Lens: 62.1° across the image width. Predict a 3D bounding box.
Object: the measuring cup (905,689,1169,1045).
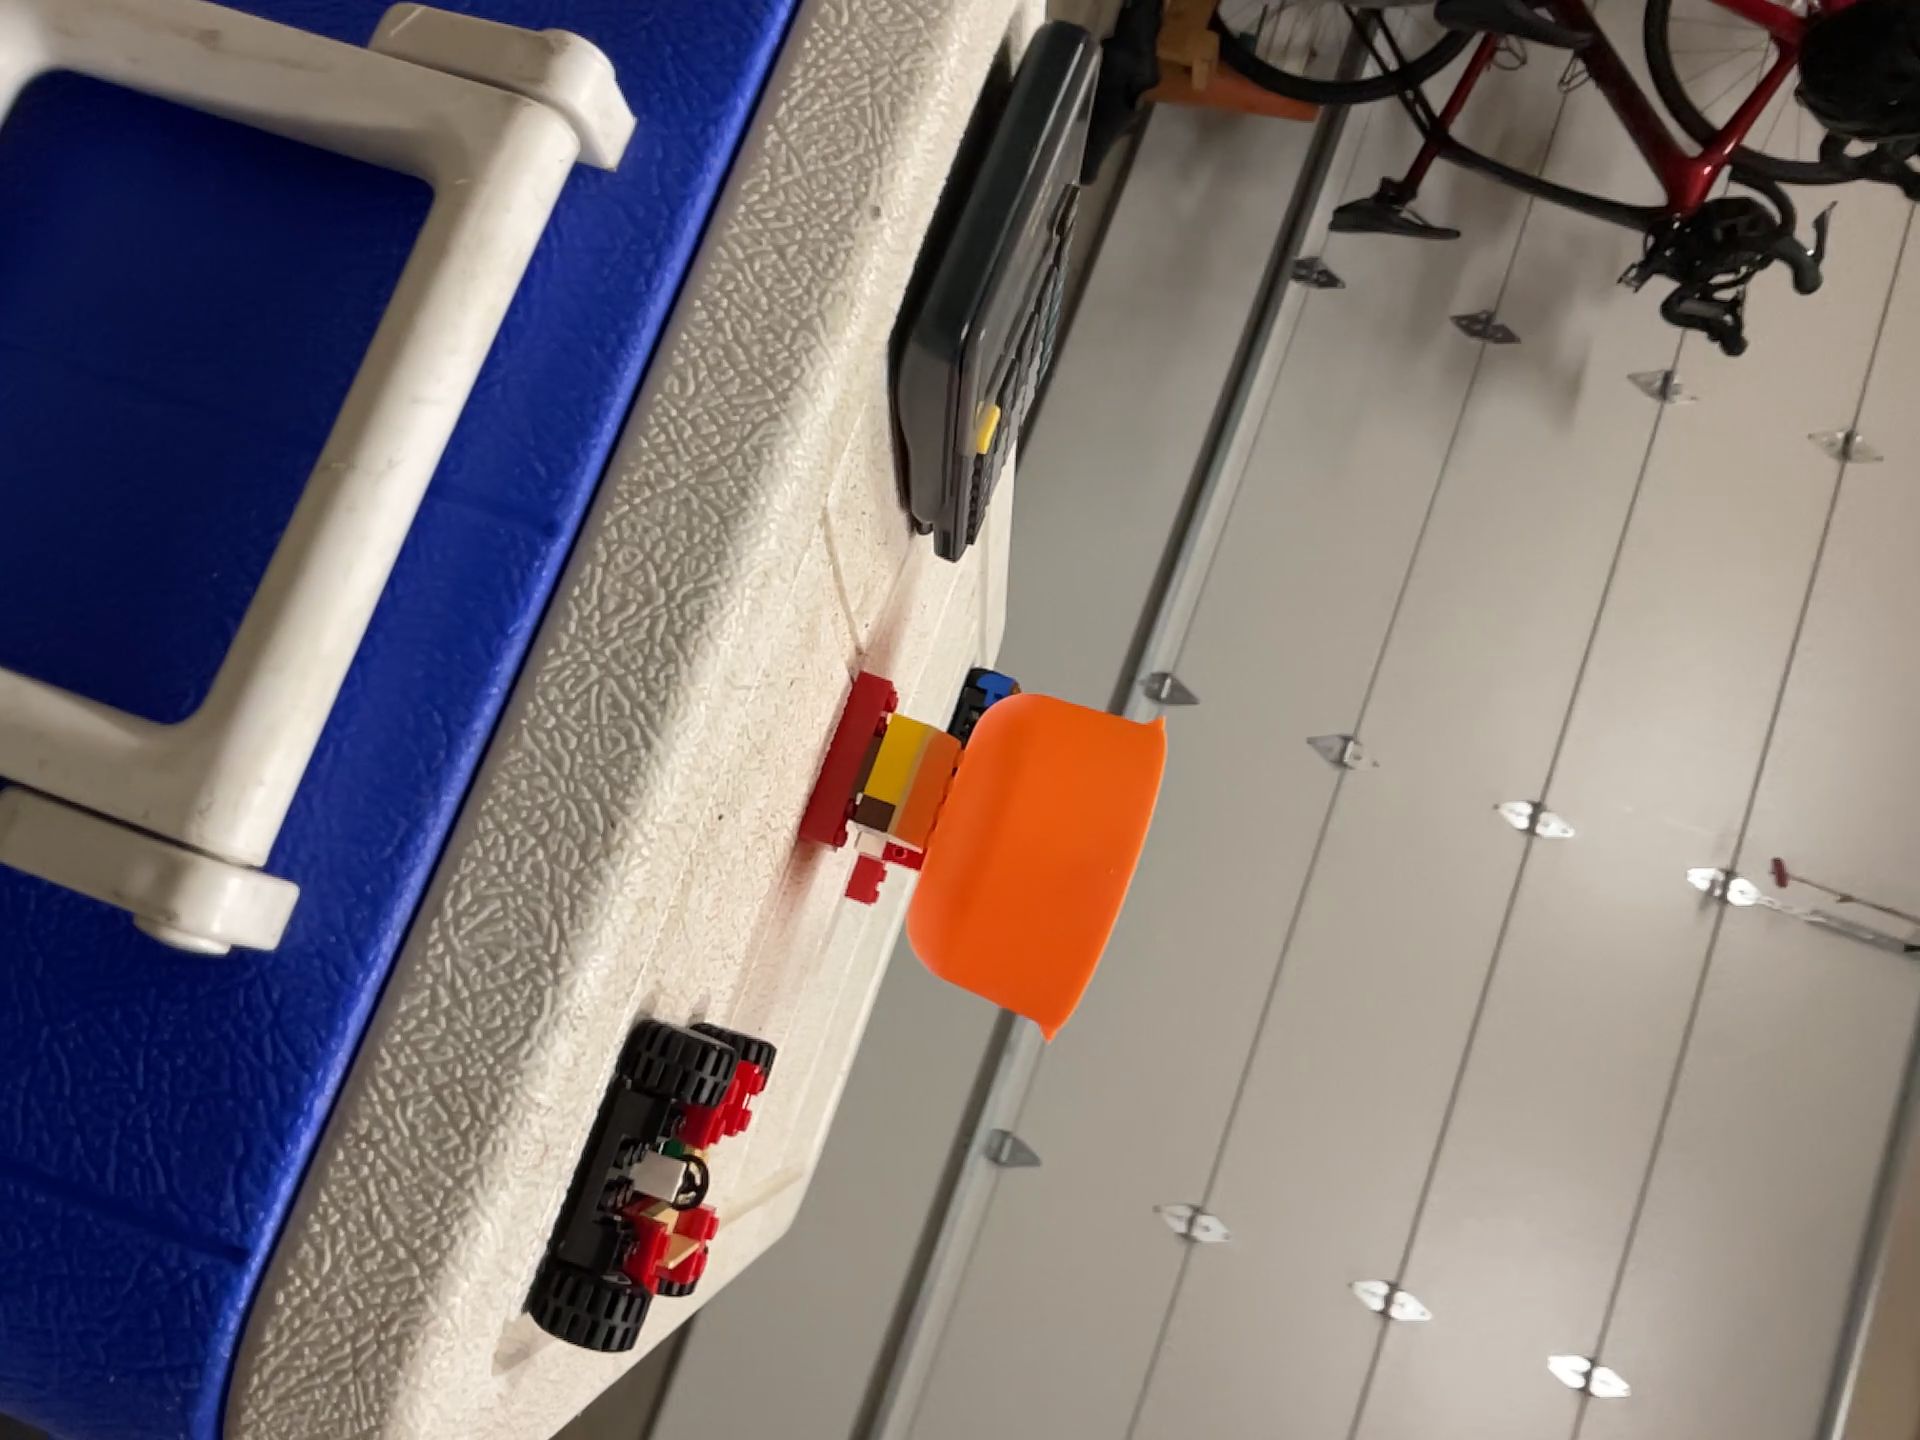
[{"bbox_3d":[0.016,0.039,0.482,0.173,0.052,0.095,118,-8,-84],"label":"measuring cup"}]
